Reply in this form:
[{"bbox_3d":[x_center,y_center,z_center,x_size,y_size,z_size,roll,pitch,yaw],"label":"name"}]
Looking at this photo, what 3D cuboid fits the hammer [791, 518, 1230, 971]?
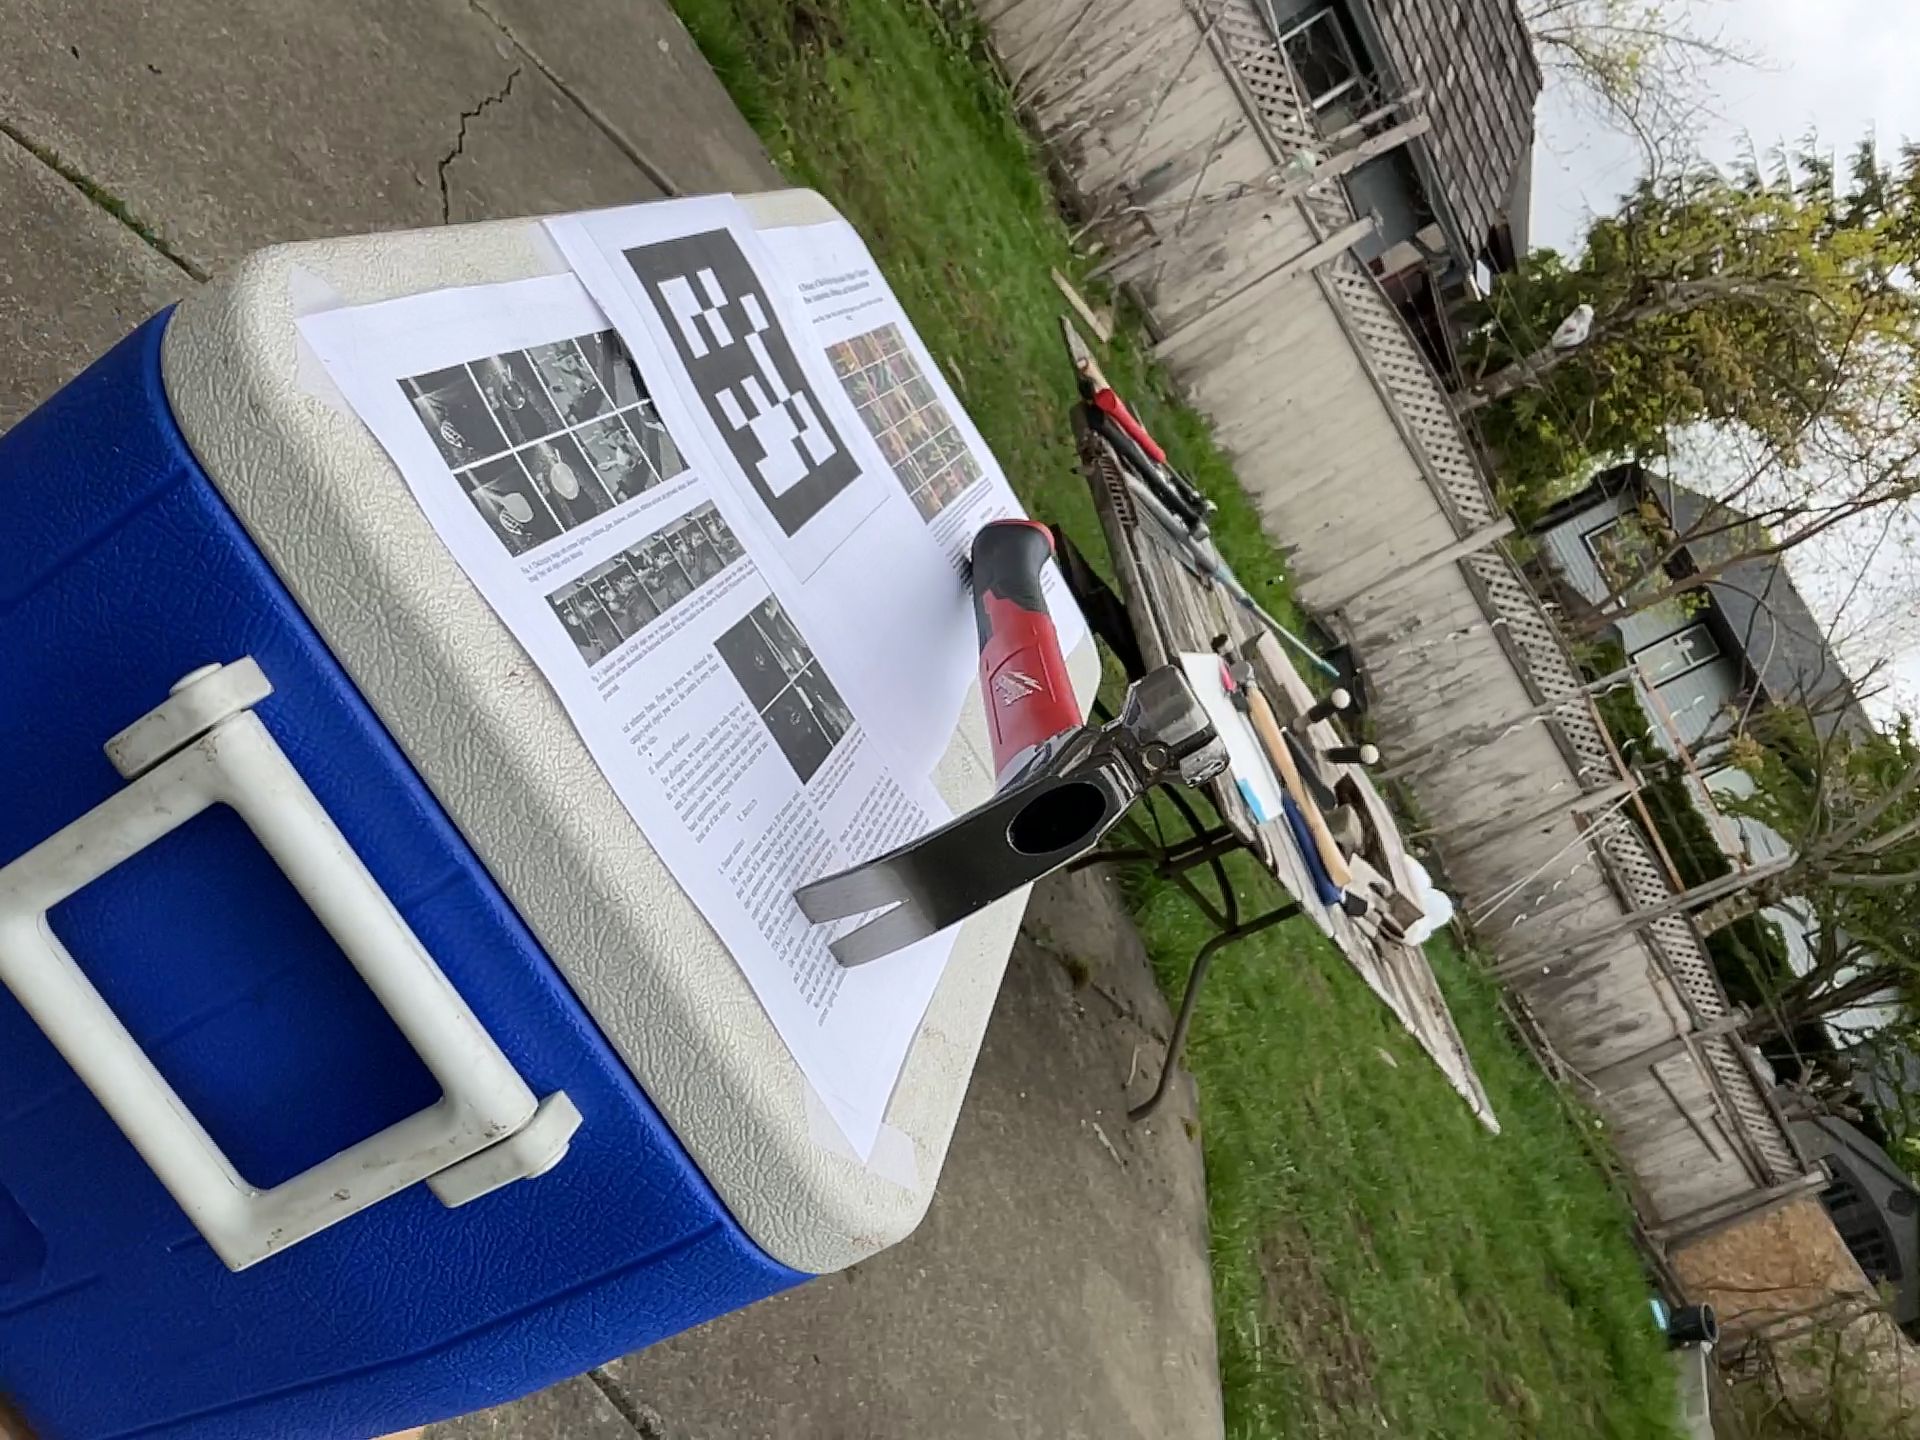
[{"bbox_3d":[0.010,-0.021,0.672,0.038,0.143,0.386,58,8,-16],"label":"hammer"}]
